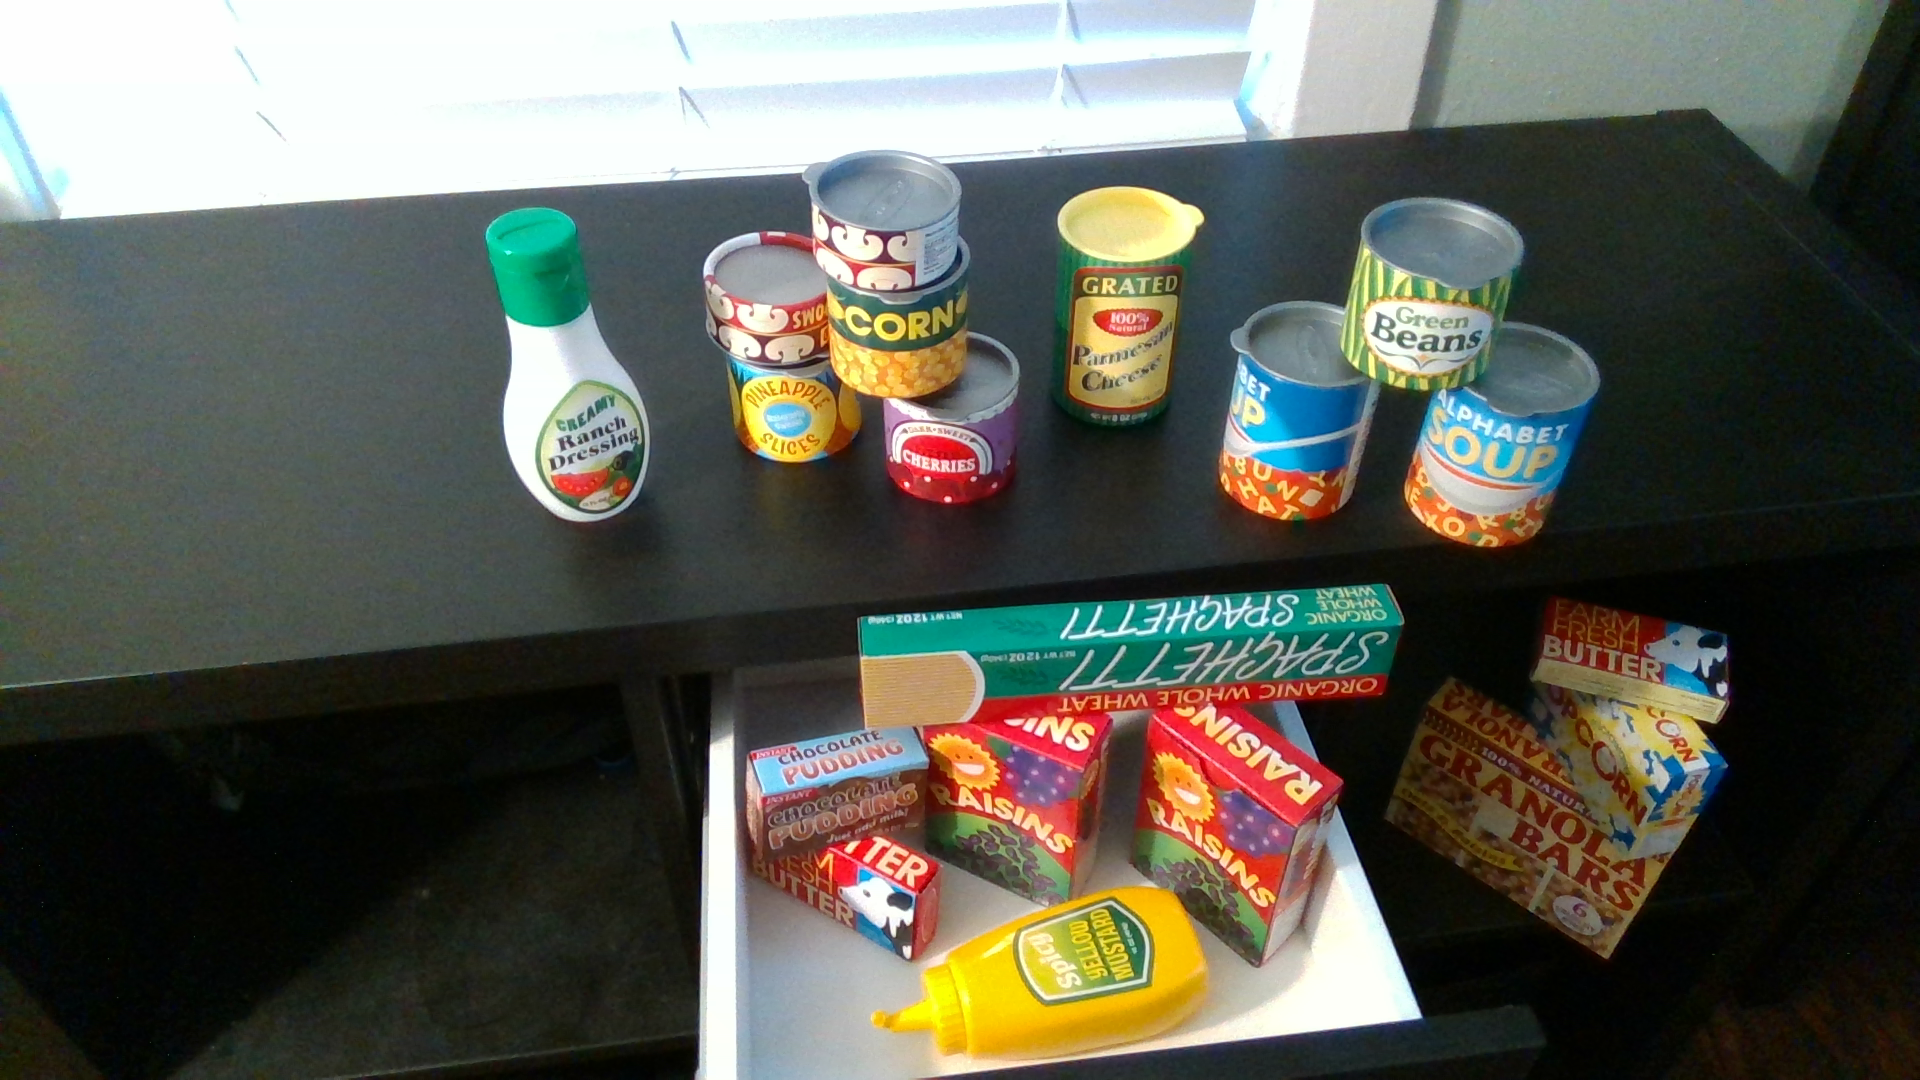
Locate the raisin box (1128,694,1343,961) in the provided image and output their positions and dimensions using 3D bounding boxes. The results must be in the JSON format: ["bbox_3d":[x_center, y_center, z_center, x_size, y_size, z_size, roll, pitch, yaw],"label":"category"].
[{"bbox_3d":[0.128,0.136,0.669,0.040,0.122,0.086,-35,55,-29],"label":"raisin box"}]

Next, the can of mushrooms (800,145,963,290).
[{"bbox_3d":[-0.035,-0.141,0.604,0.071,0.071,0.033,0,-43,-2],"label":"can of mushrooms"}]

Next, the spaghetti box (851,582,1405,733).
[{"bbox_3d":[0.076,0.053,0.632,0.250,0.049,0.029,-3,39,-6],"label":"spaghetti box"}]

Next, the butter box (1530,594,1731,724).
[{"bbox_3d":[0.386,0.068,0.802,0.103,0.024,0.053,13,47,16],"label":"butter box"}]

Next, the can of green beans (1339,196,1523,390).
[{"bbox_3d":[0.201,-0.106,0.600,0.071,0.057,0.071,-1,44,1],"label":"can of green beans"}]

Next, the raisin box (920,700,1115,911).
[{"bbox_3d":[0.026,0.121,0.680,0.086,0.122,0.040,20,47,19],"label":"raisin box"}]

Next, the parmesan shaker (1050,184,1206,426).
[{"bbox_3d":[0.082,-0.115,0.692,0.071,0.102,0.072,0,45,1],"label":"parmesan shaker"}]

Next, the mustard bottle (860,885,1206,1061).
[{"bbox_3d":[0.032,0.209,0.647,0.160,0.048,0.065,-12,48,-15],"label":"mustard bottle"}]

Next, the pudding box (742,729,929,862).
[{"bbox_3d":[-0.059,0.118,0.660,0.084,0.049,0.030,-8,38,-21],"label":"pudding box"}]

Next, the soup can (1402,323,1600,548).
[{"bbox_3d":[0.245,-0.046,0.636,0.071,0.083,0.072,1,43,-1],"label":"soup can"}]

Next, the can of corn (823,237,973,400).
[{"bbox_3d":[-0.028,-0.104,0.632,0.071,0.058,0.071,1,43,-1],"label":"can of corn"}]

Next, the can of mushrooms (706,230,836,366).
[{"bbox_3d":[-0.085,-0.115,0.659,0.071,0.071,0.033,0,-44,-6],"label":"can of mushrooms"}]

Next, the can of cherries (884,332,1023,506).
[{"bbox_3d":[-0.004,-0.057,0.663,0.071,0.058,0.072,0,44,0],"label":"can of cherries"}]

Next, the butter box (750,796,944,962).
[{"bbox_3d":[-0.058,0.162,0.686,0.103,0.052,0.024,23,39,23],"label":"butter box"}]

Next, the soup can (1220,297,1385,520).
[{"bbox_3d":[0.156,-0.061,0.651,0.071,0.083,0.072,0,43,0],"label":"soup can"}]

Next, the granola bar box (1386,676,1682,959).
[{"bbox_3d":[0.371,0.181,0.905,0.166,0.123,0.039,32,50,29],"label":"granola bar box"}]

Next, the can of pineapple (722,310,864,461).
[{"bbox_3d":[-0.081,-0.079,0.685,0.071,0.057,0.071,0,44,0],"label":"can of pineapple"}]

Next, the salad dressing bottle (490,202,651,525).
[{"bbox_3d":[-0.175,-0.075,0.616,0.064,0.146,0.044,-26,48,-26],"label":"salad dressing bottle"}]

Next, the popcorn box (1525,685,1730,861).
[{"bbox_3d":[0.393,0.114,0.829,0.038,0.084,0.127,-7,43,-8],"label":"popcorn box"}]
